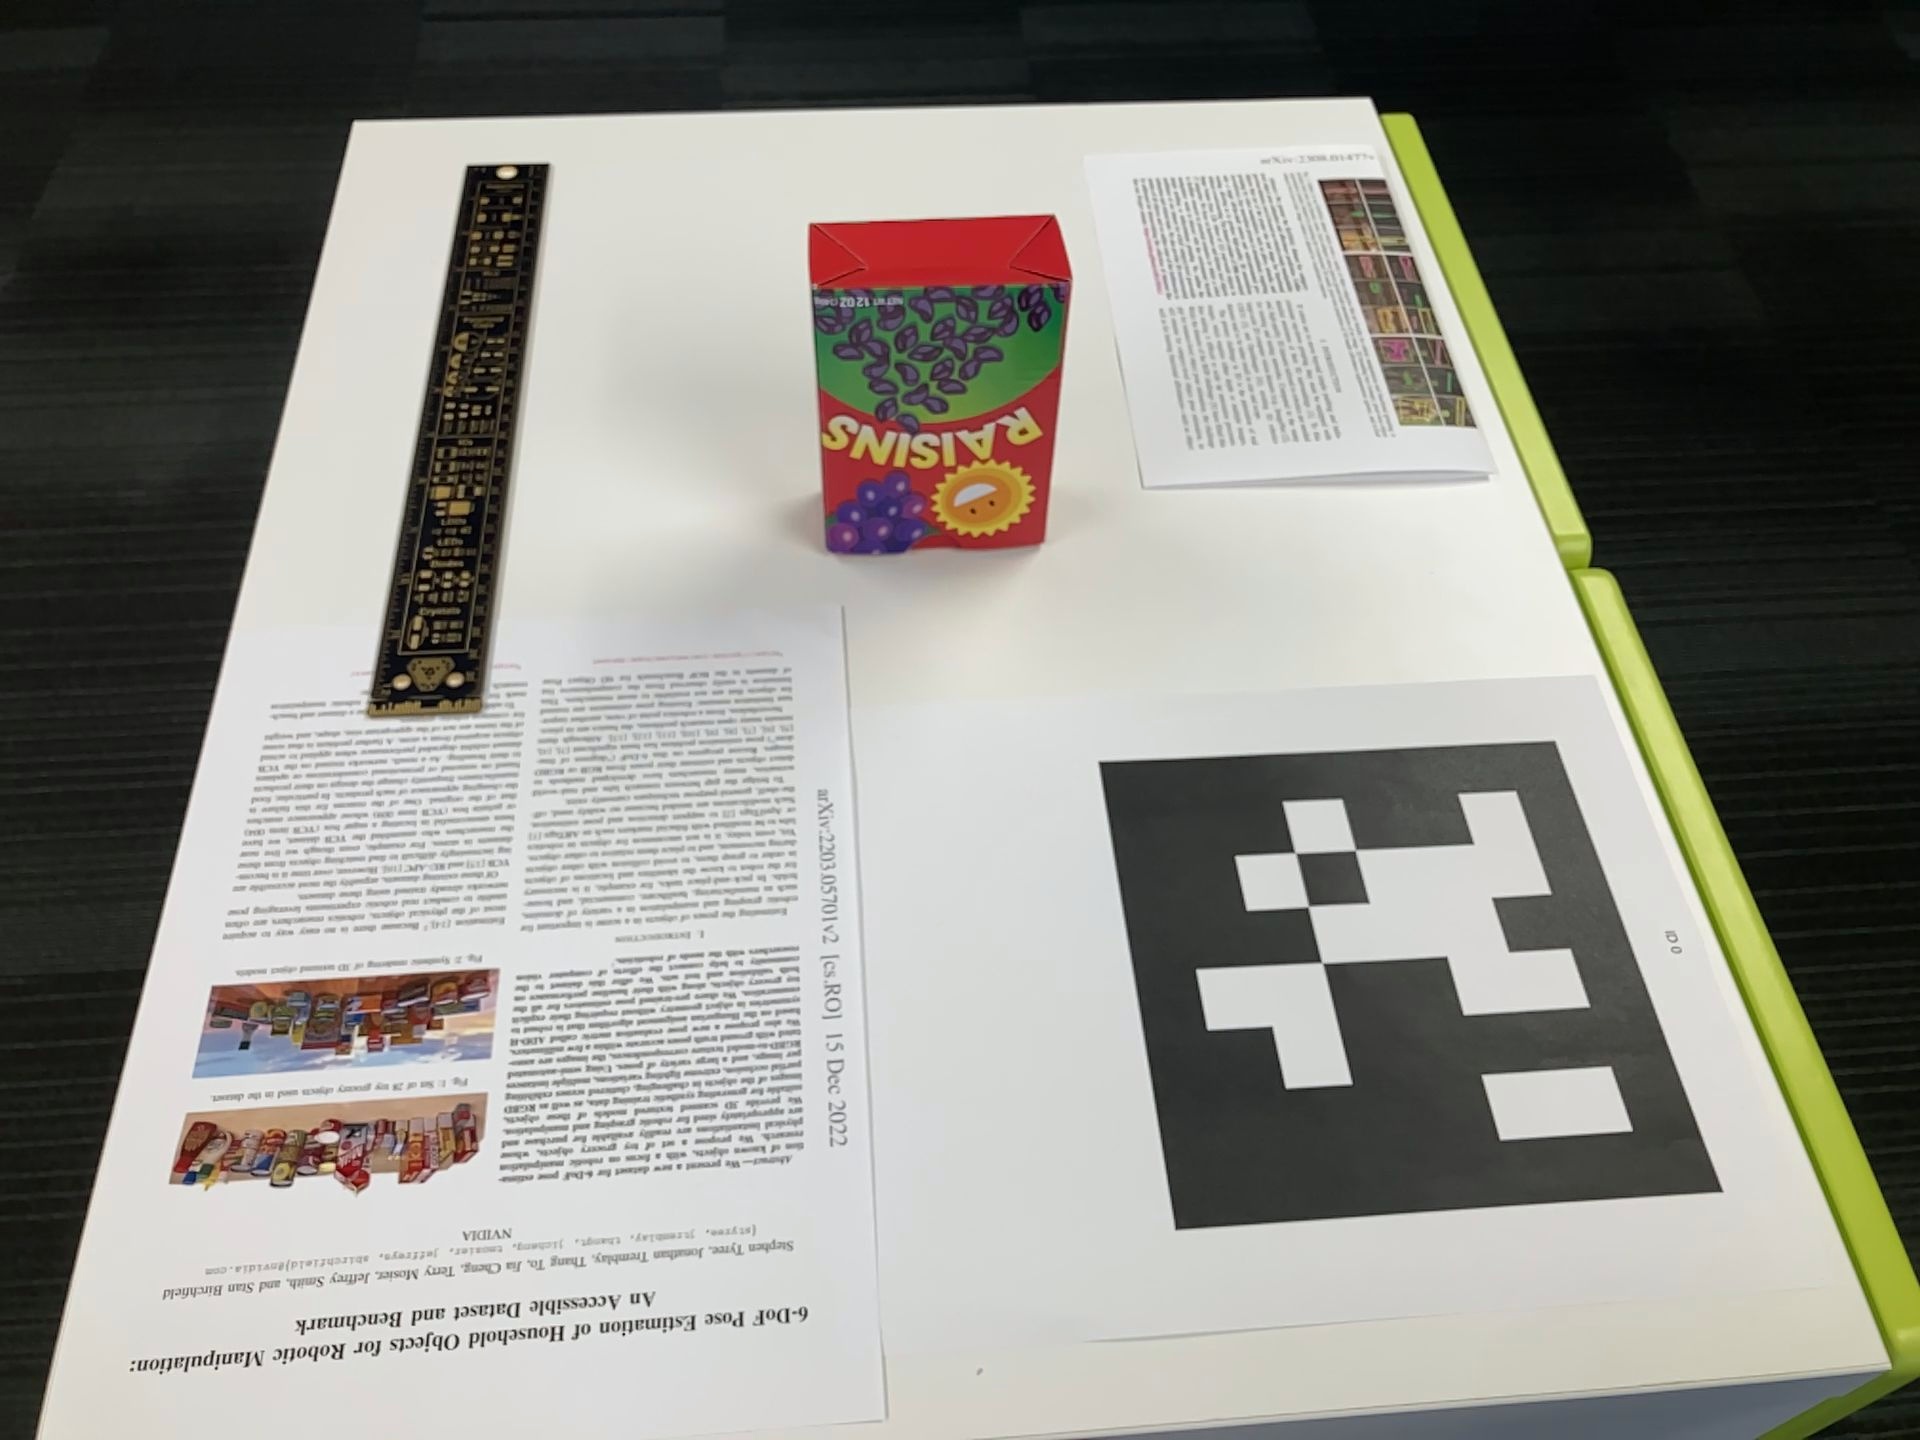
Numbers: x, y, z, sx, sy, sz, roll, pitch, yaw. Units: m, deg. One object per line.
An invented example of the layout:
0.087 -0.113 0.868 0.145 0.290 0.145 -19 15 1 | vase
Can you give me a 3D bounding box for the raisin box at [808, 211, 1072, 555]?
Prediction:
-0.008 -0.115 0.563 0.086 0.123 0.040 -4 52 -5 | raisin box
